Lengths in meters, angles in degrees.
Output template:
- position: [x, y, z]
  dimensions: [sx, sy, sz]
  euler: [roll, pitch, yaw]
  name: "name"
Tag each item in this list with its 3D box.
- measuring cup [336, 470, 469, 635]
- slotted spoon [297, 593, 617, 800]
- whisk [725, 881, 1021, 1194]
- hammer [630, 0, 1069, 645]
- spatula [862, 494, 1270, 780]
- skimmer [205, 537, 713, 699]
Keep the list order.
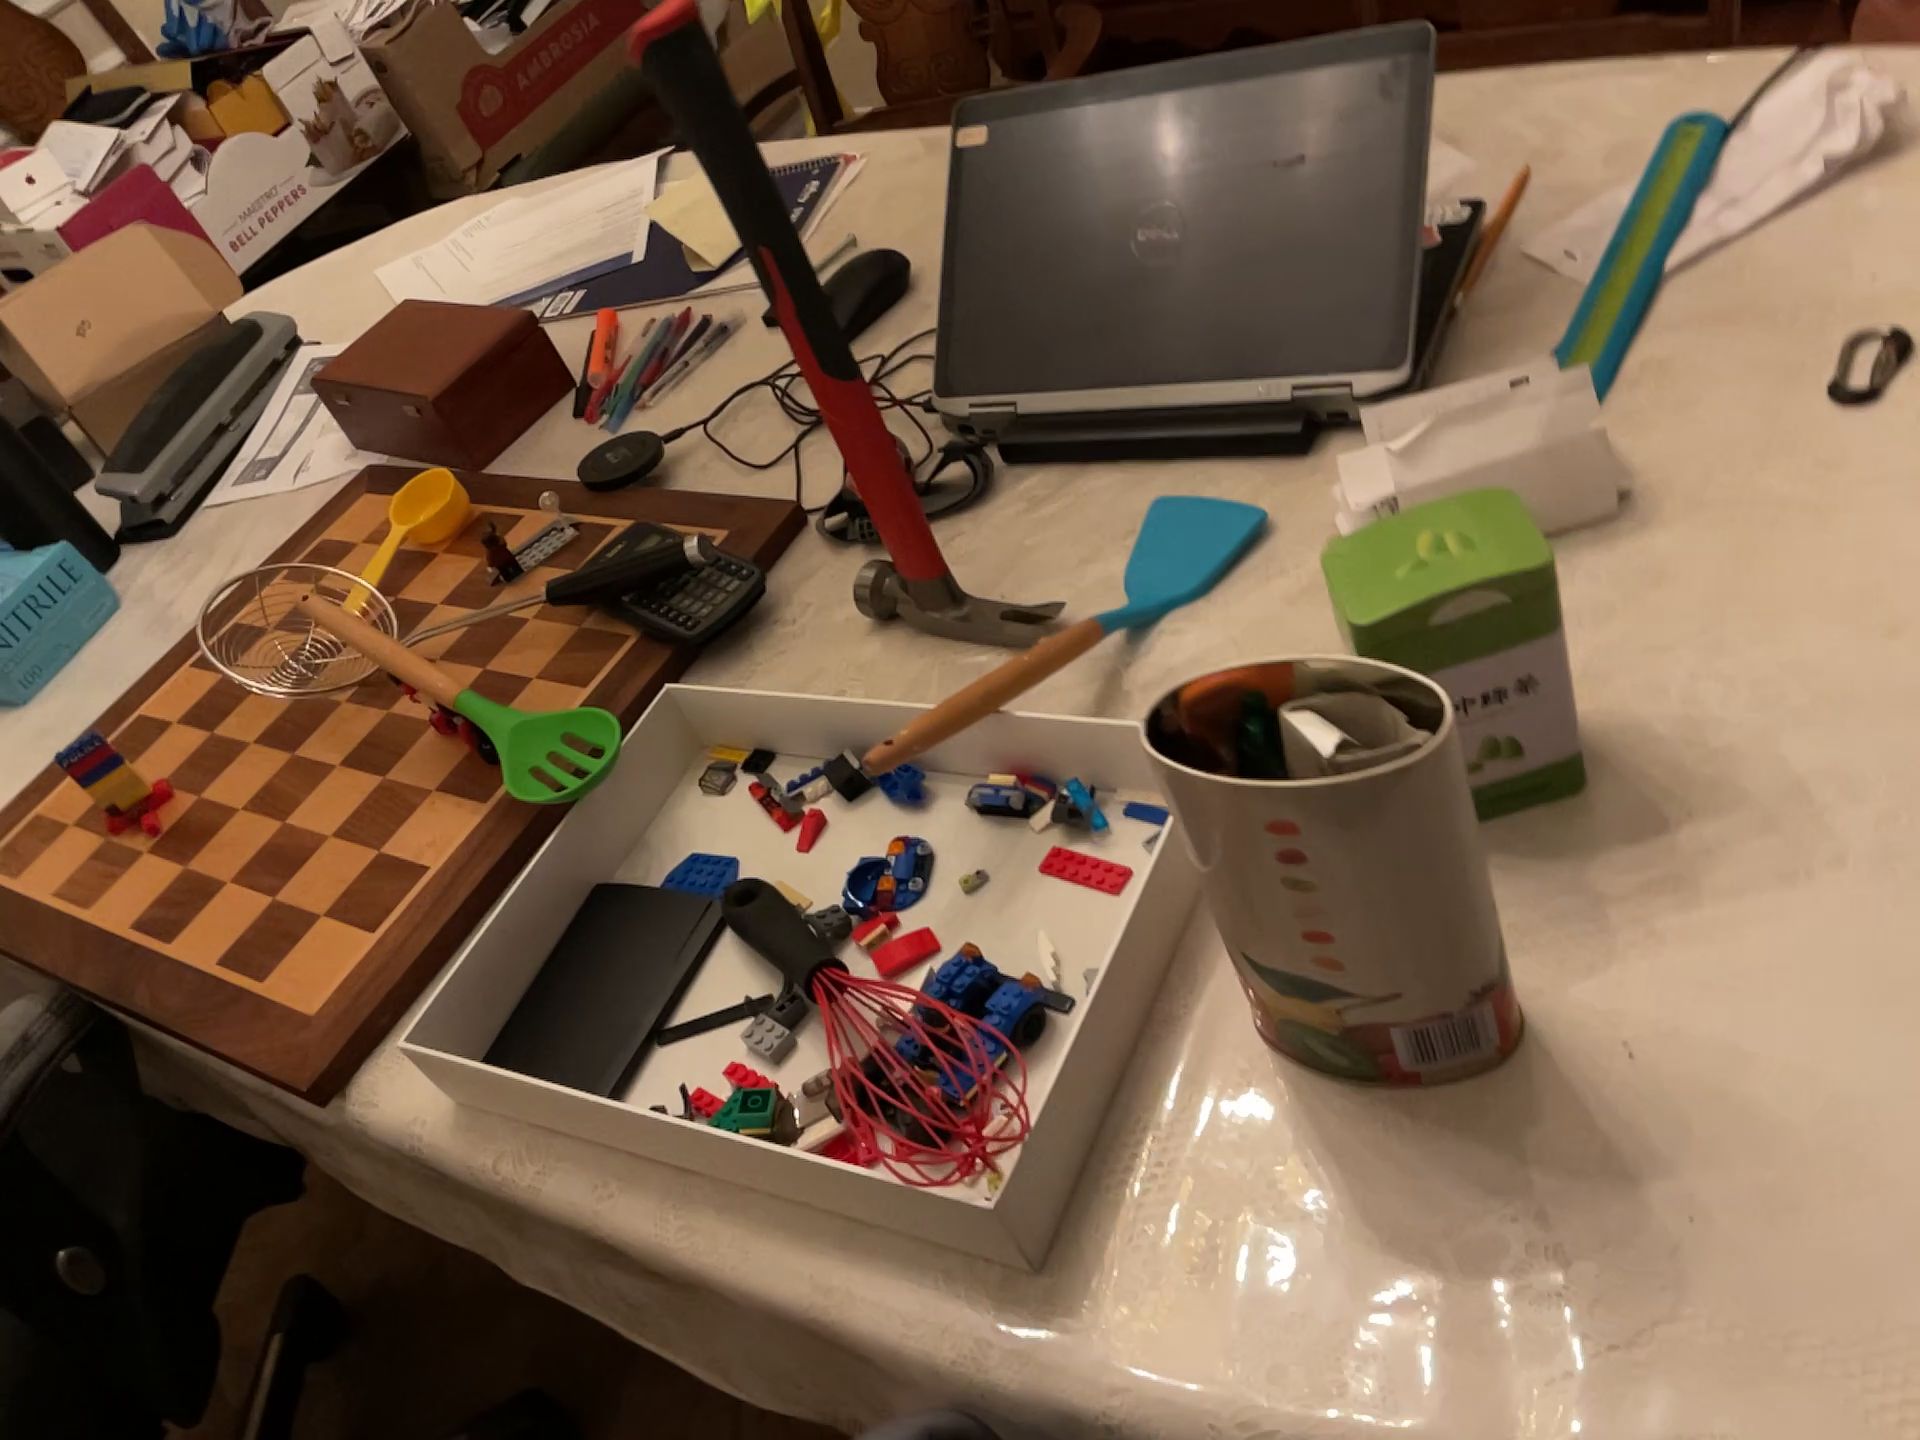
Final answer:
- position: [-0.430, -0.124, 1.224]
  dimensions: [0.062, 0.029, 0.156]
  euler: [11, 64, 32]
  name: "measuring cup"
- position: [-0.314, -0.023, 0.965]
  dimensions: [0.314, 0.031, 0.070]
  euler: [25, 63, 33]
  name: "slotted spoon"
- position: [-0.053, 0.130, 0.729]
  dimensions: [0.073, 0.073, 0.296]
  euler: [-20, 22, -21]
  name: "whisk"
- position: [-0.060, -0.192, 0.849]
  dimensions: [0.143, 0.385, 0.038]
  euler: [12, 52, 37]
  name: "hammer"
- position: [0.055, -0.049, 0.857]
  dimensions: [0.083, 0.044, 0.317]
  euler: [16, 34, 37]
  name: "spatula"
- position: [-0.341, -0.090, 1.072]
  dimensions: [0.364, 0.090, 0.127]
  euler: [-13, 39, 21]
  name: "skimmer"
